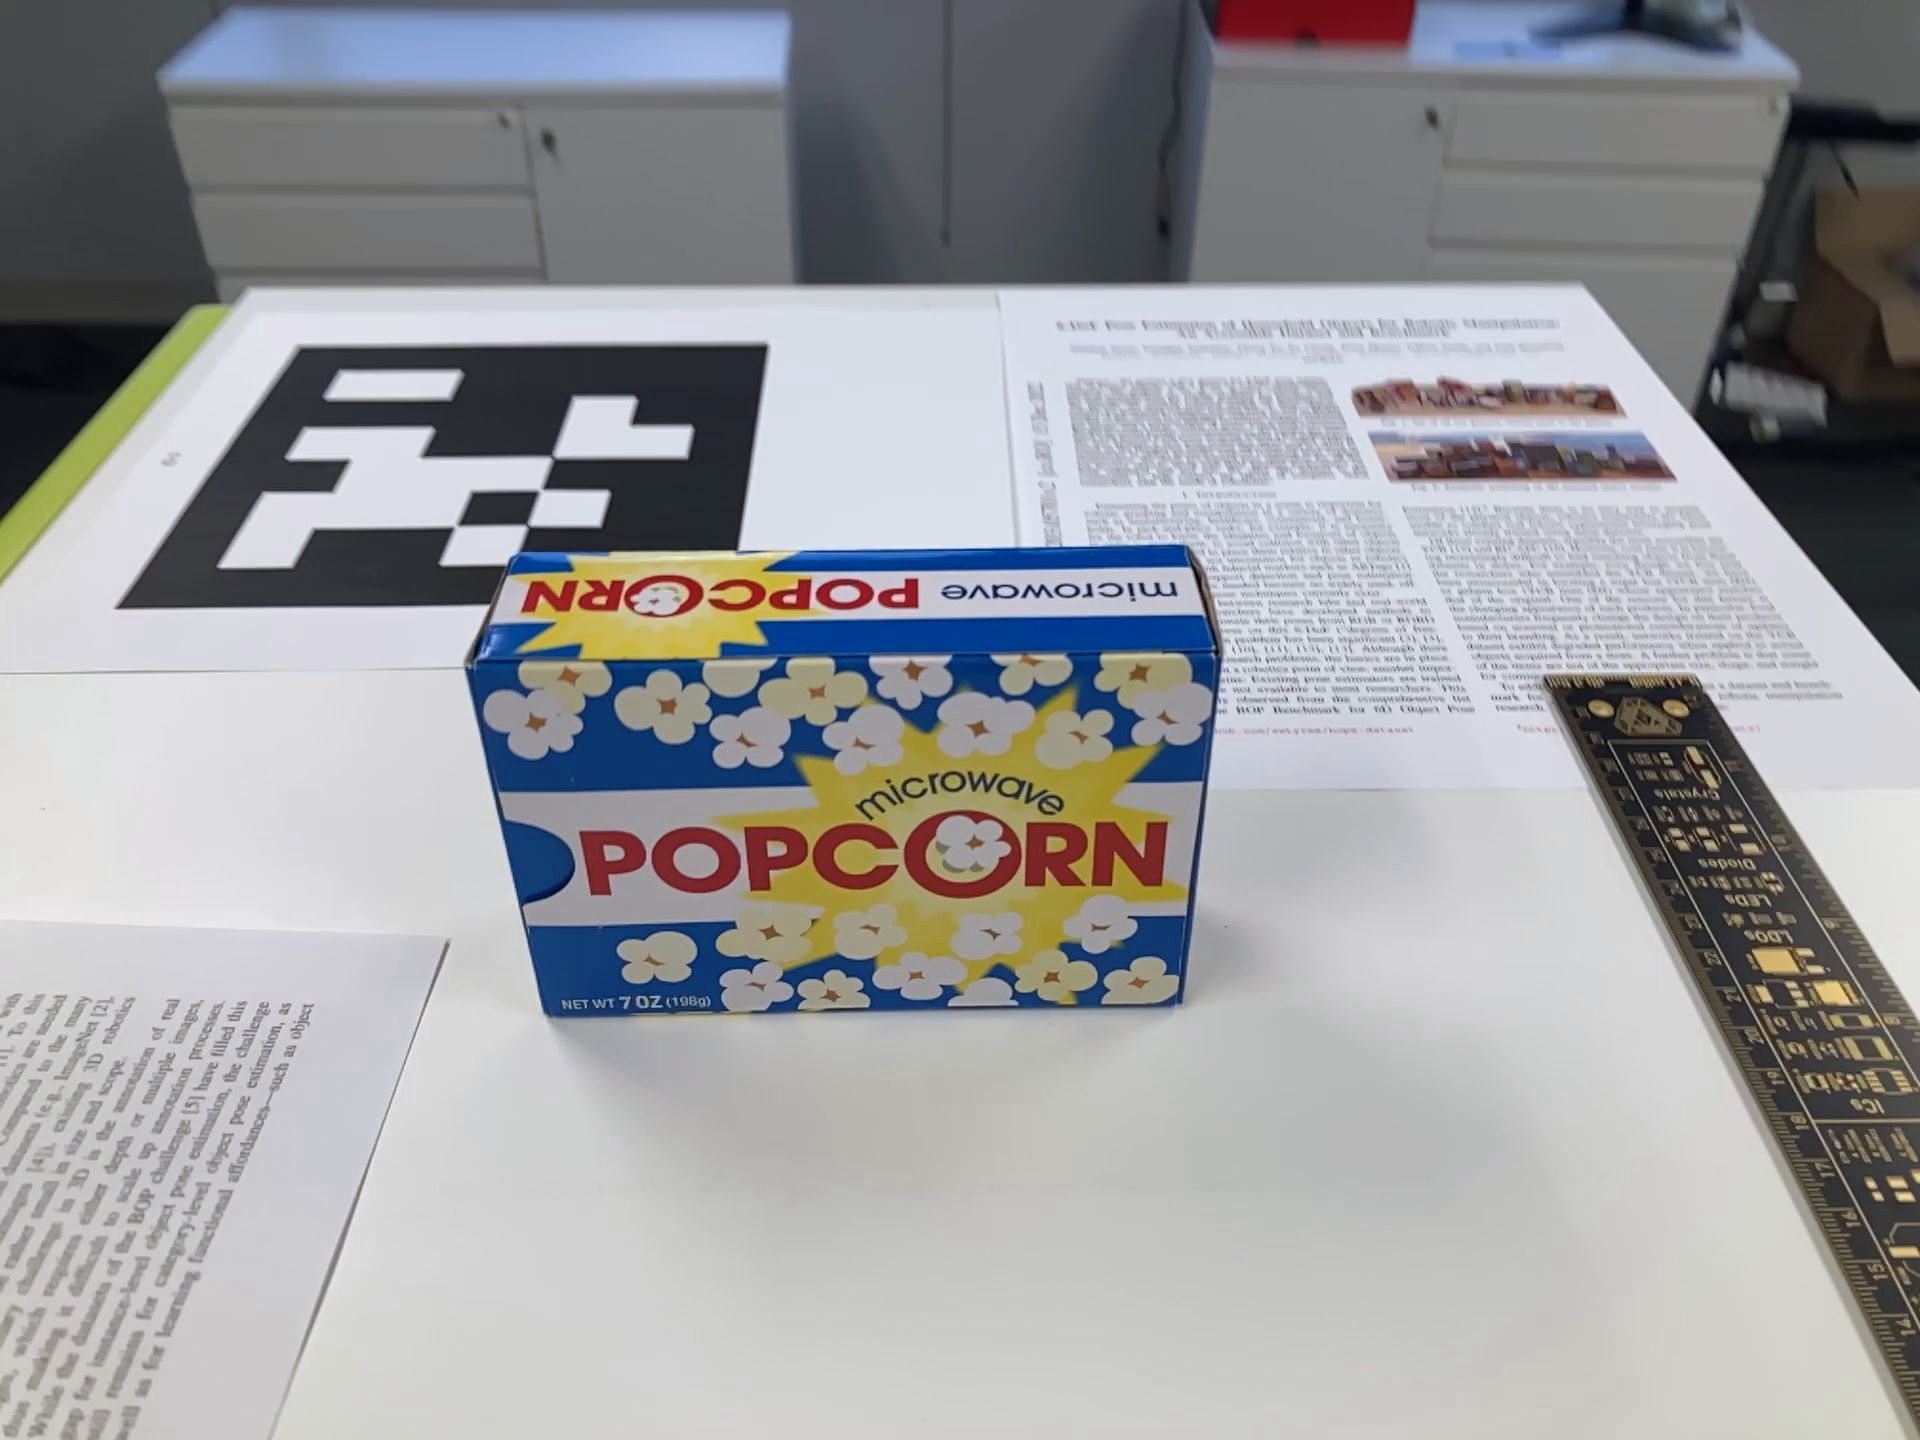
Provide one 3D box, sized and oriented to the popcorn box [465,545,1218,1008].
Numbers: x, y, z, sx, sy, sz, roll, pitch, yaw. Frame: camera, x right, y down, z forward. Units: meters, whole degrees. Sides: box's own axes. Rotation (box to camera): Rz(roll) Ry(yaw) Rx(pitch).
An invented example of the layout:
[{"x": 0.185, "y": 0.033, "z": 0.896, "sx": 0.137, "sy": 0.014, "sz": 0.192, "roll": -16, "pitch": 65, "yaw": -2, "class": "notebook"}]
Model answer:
[{"x": -0.019, "y": 0.012, "z": 0.300, "sx": 0.126, "sy": 0.085, "sz": 0.038, "roll": -1, "pitch": 38, "yaw": -1, "class": "popcorn box"}]
